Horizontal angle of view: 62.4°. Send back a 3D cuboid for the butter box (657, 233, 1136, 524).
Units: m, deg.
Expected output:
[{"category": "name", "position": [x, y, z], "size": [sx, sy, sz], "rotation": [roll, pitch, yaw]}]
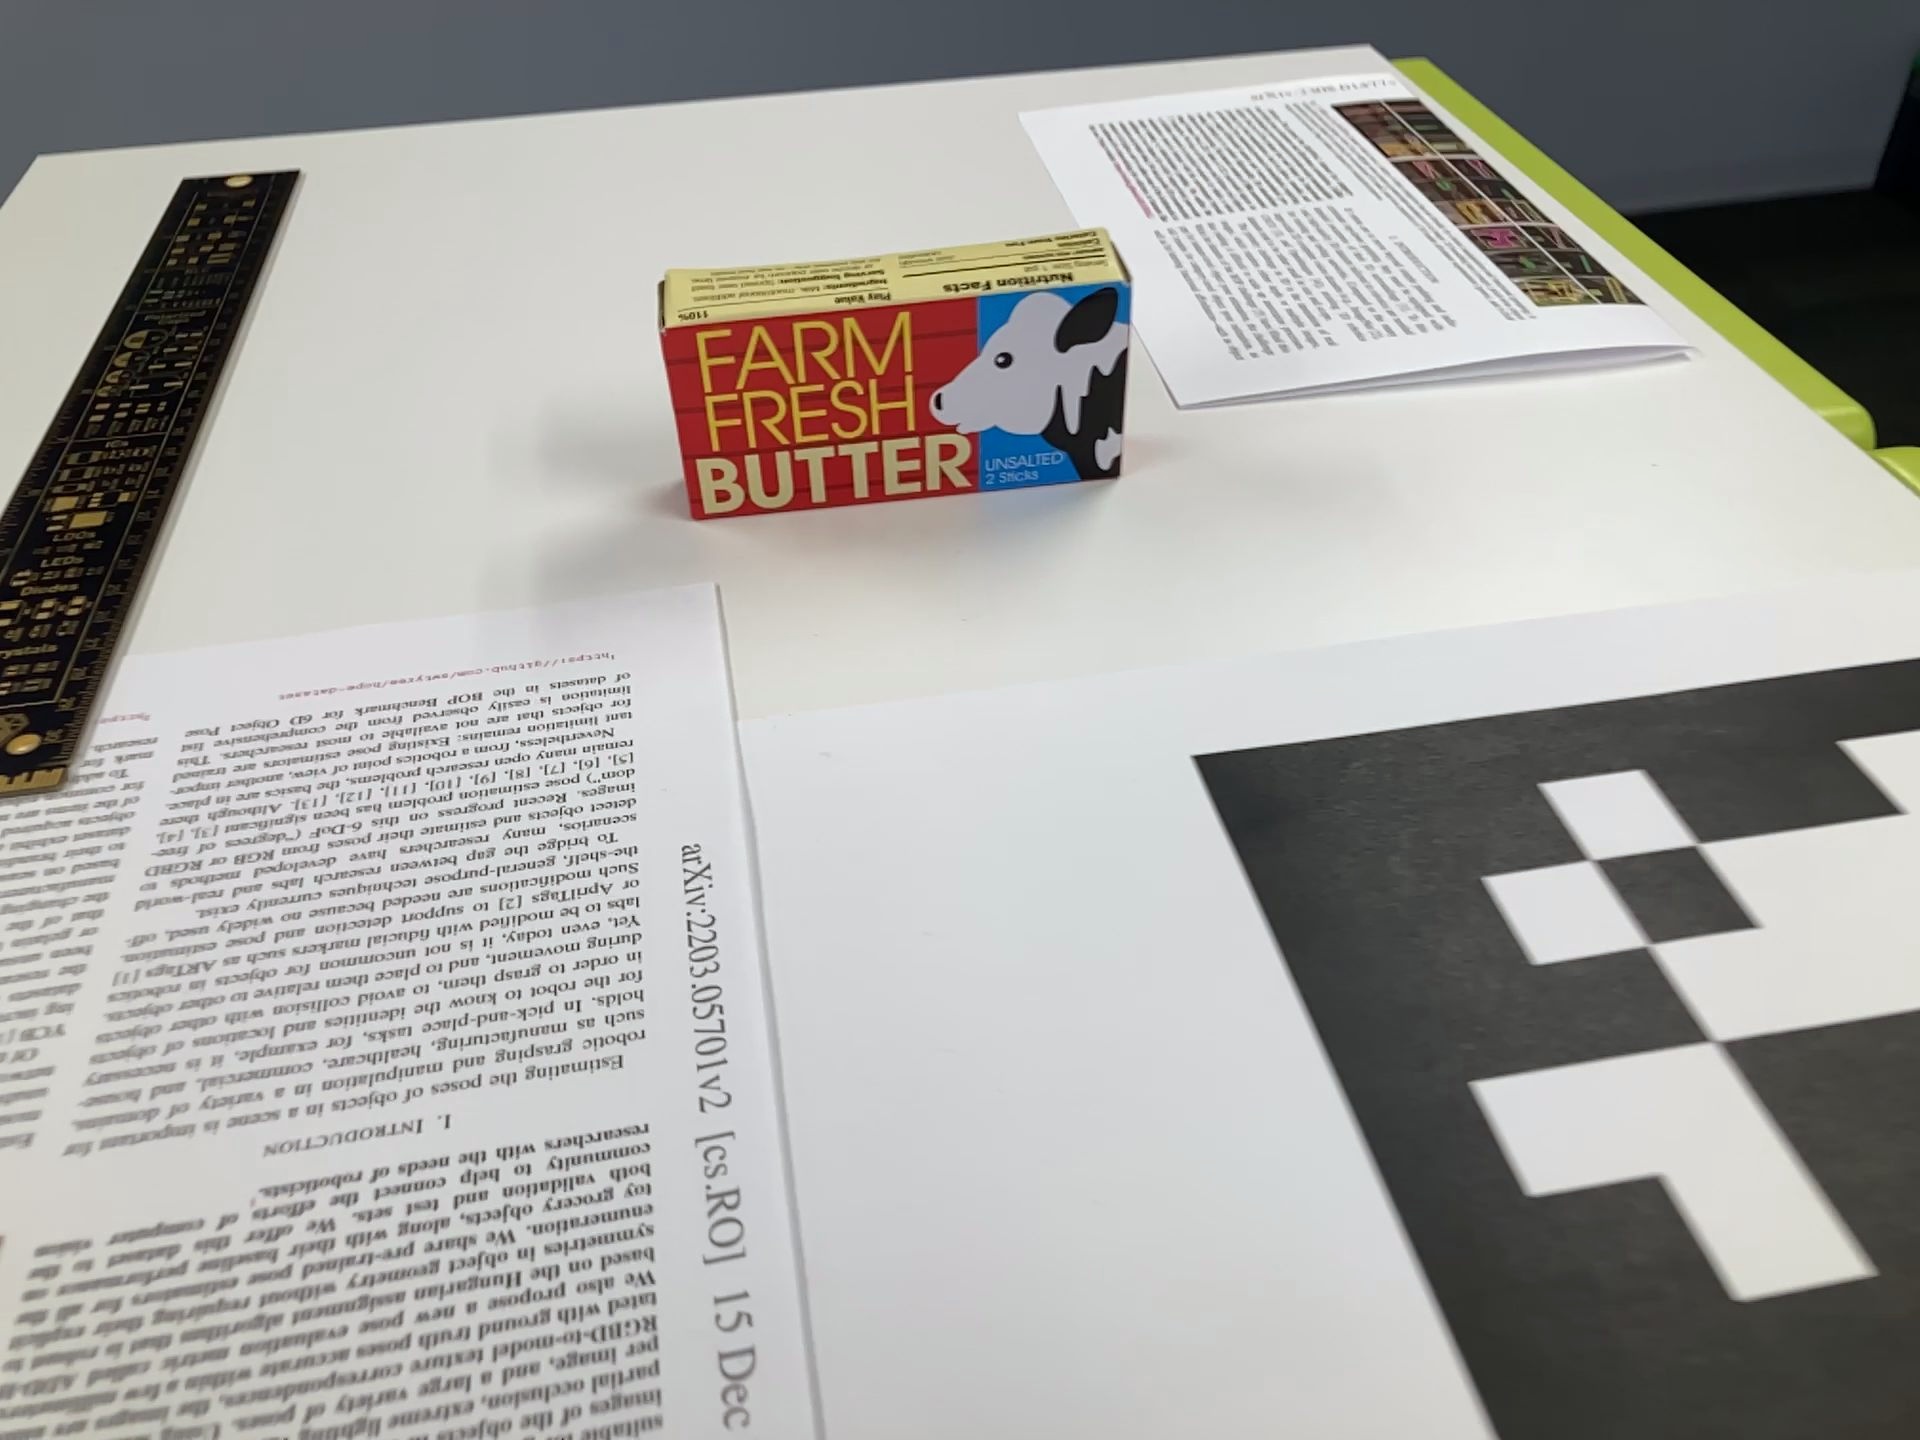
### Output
[{"category": "butter box", "position": [-0.014, -0.077, 0.360], "size": [0.103, 0.053, 0.024], "rotation": [-7, 43, -6]}]
